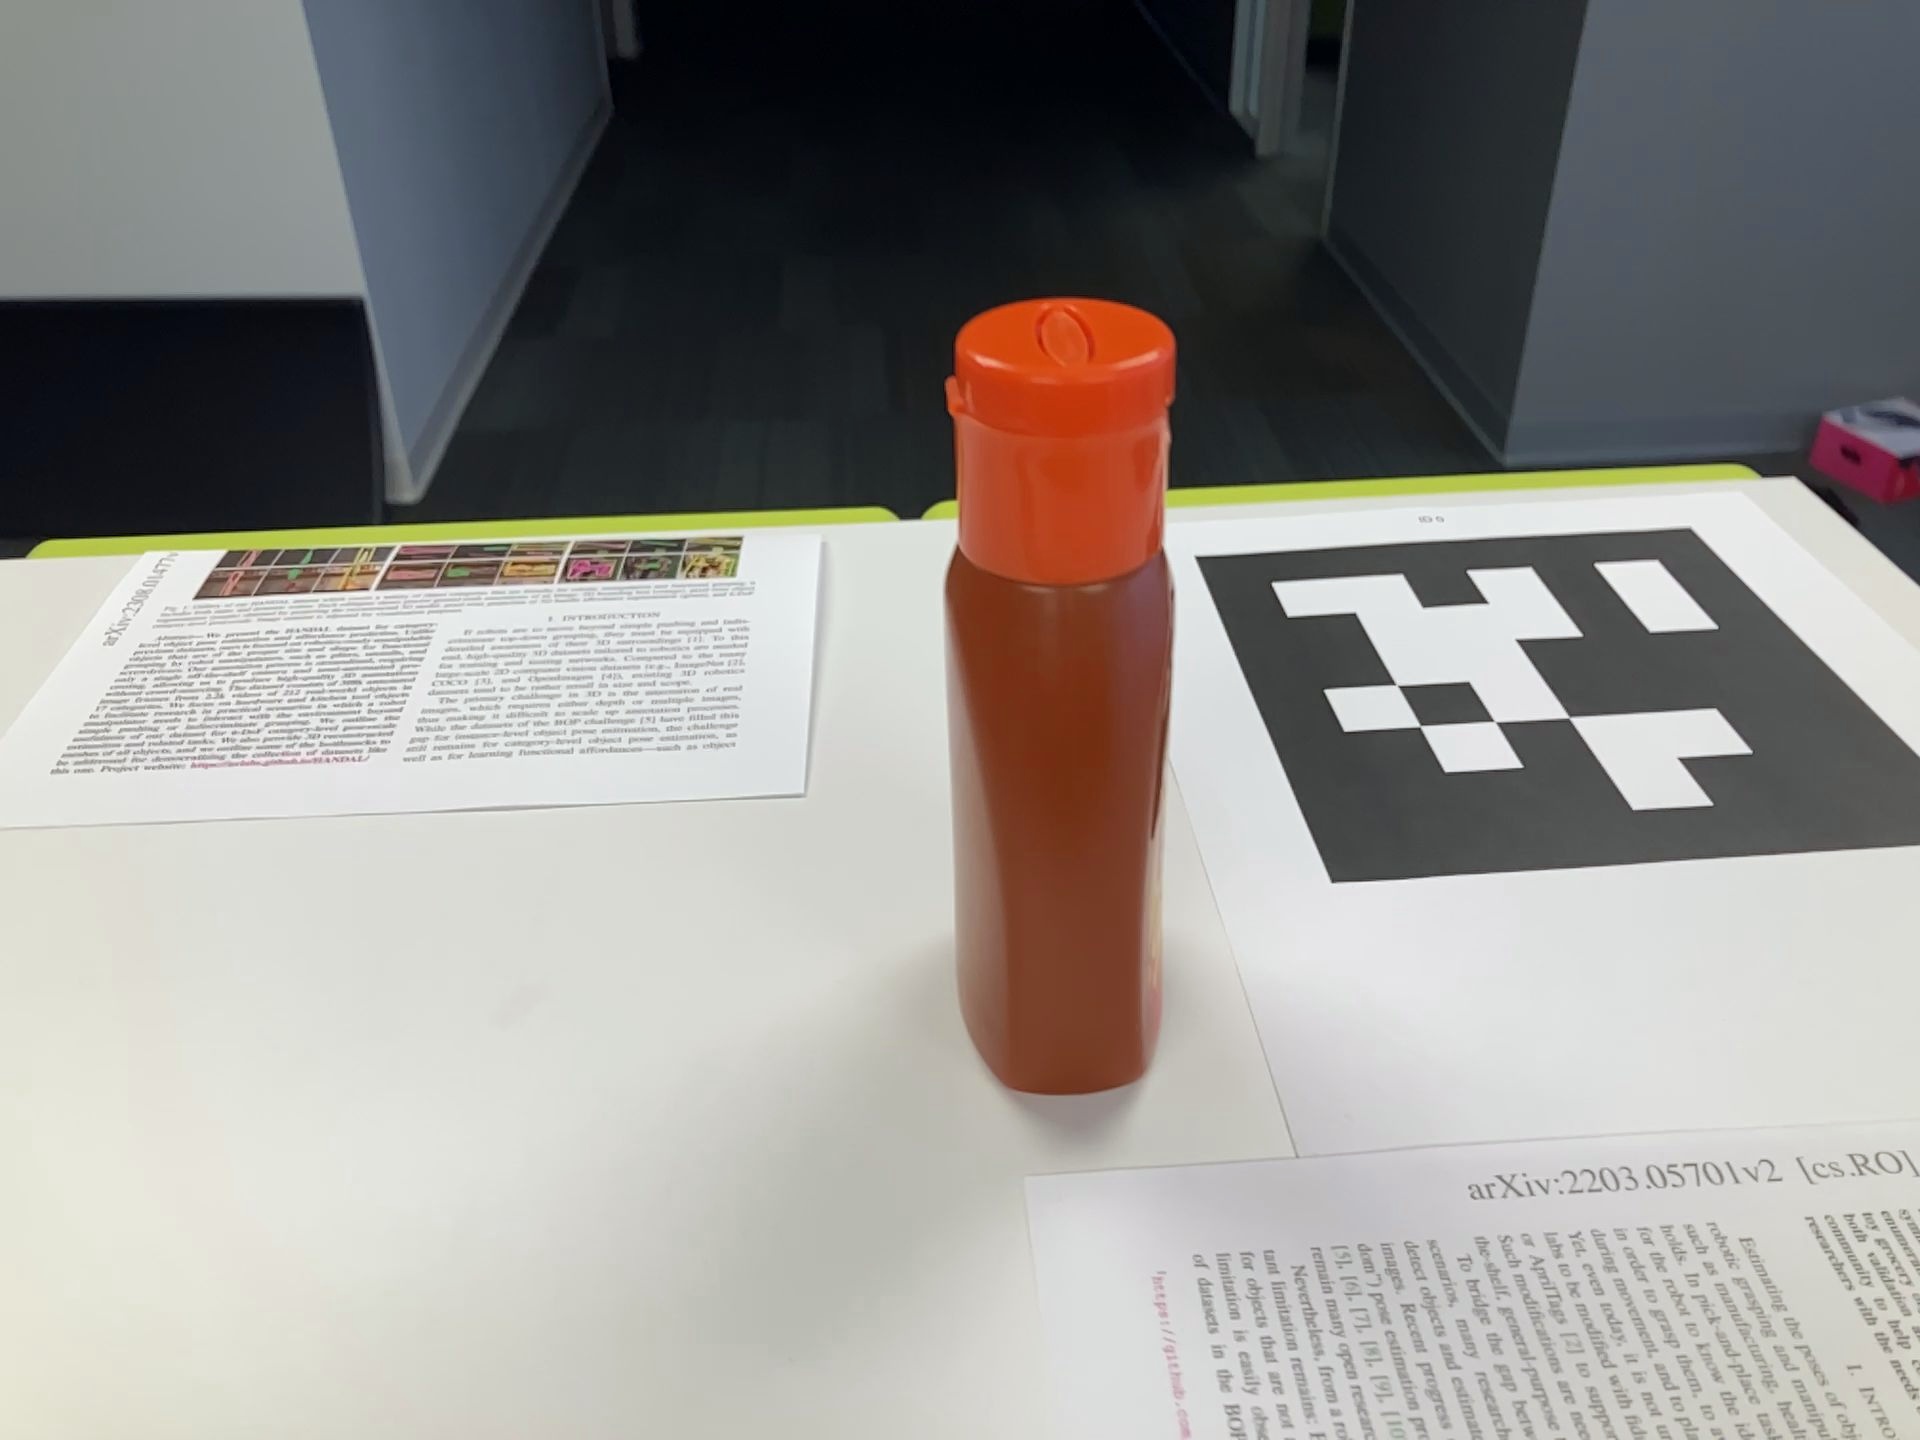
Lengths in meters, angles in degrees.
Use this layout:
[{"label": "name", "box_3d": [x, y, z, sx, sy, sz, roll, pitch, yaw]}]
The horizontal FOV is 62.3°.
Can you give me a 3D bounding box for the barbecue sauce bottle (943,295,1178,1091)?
[{"label": "barbecue sauce bottle", "box_3d": [0.019, -0.003, 0.302, 0.043, 0.148, 0.065, -3, 33, -1]}]
